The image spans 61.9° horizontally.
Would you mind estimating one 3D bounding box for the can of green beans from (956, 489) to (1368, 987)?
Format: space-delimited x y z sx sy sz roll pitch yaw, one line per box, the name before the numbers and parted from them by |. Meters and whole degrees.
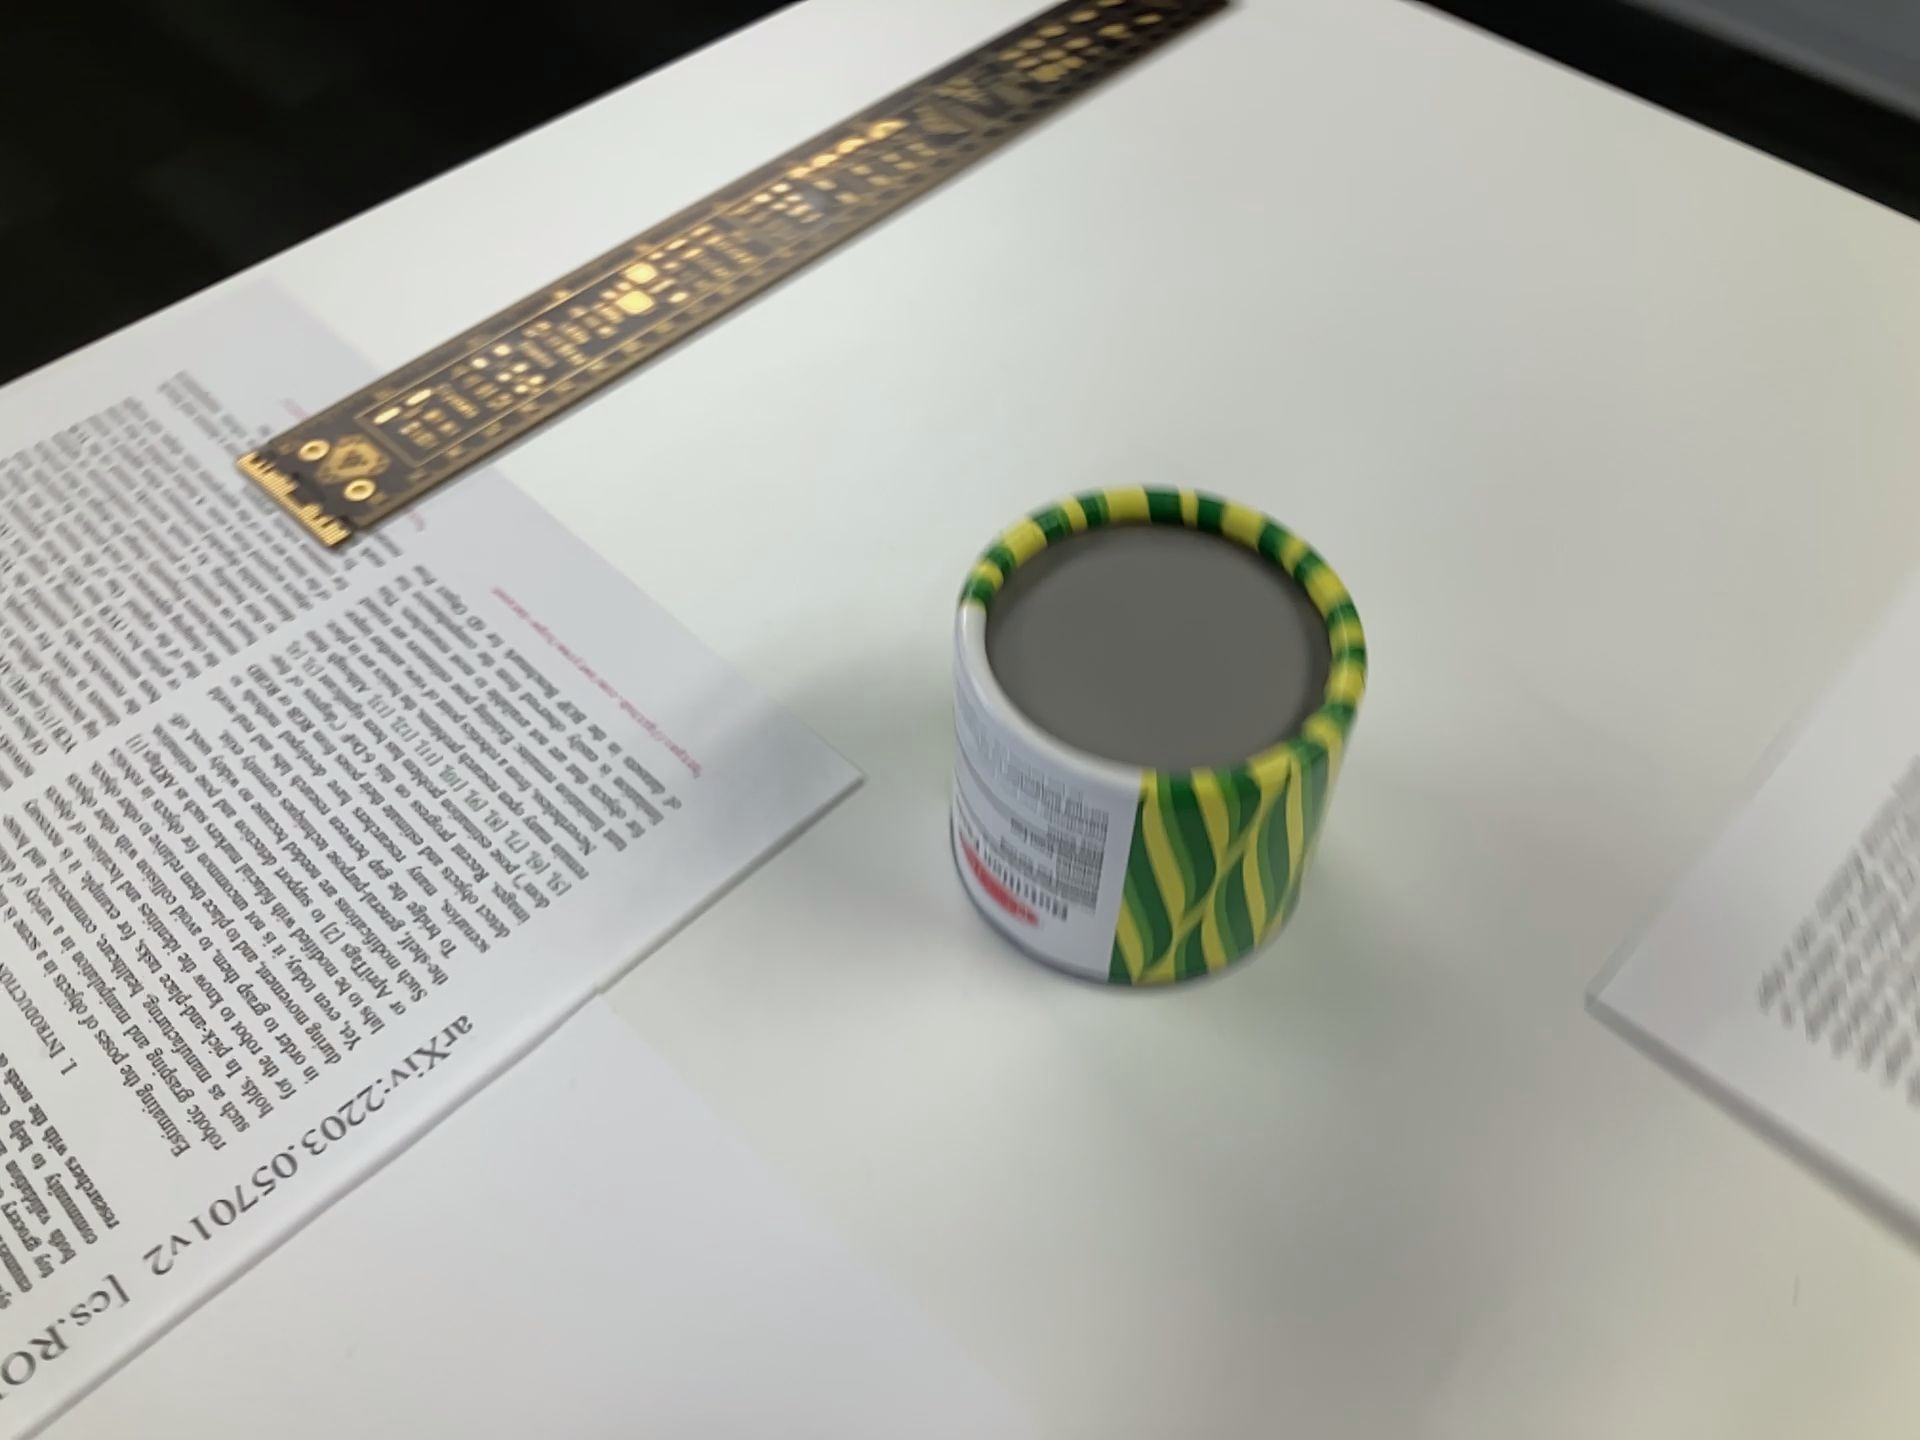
can of green beans | 0.032 0.003 0.277 0.071 0.058 0.071 0 52 0
